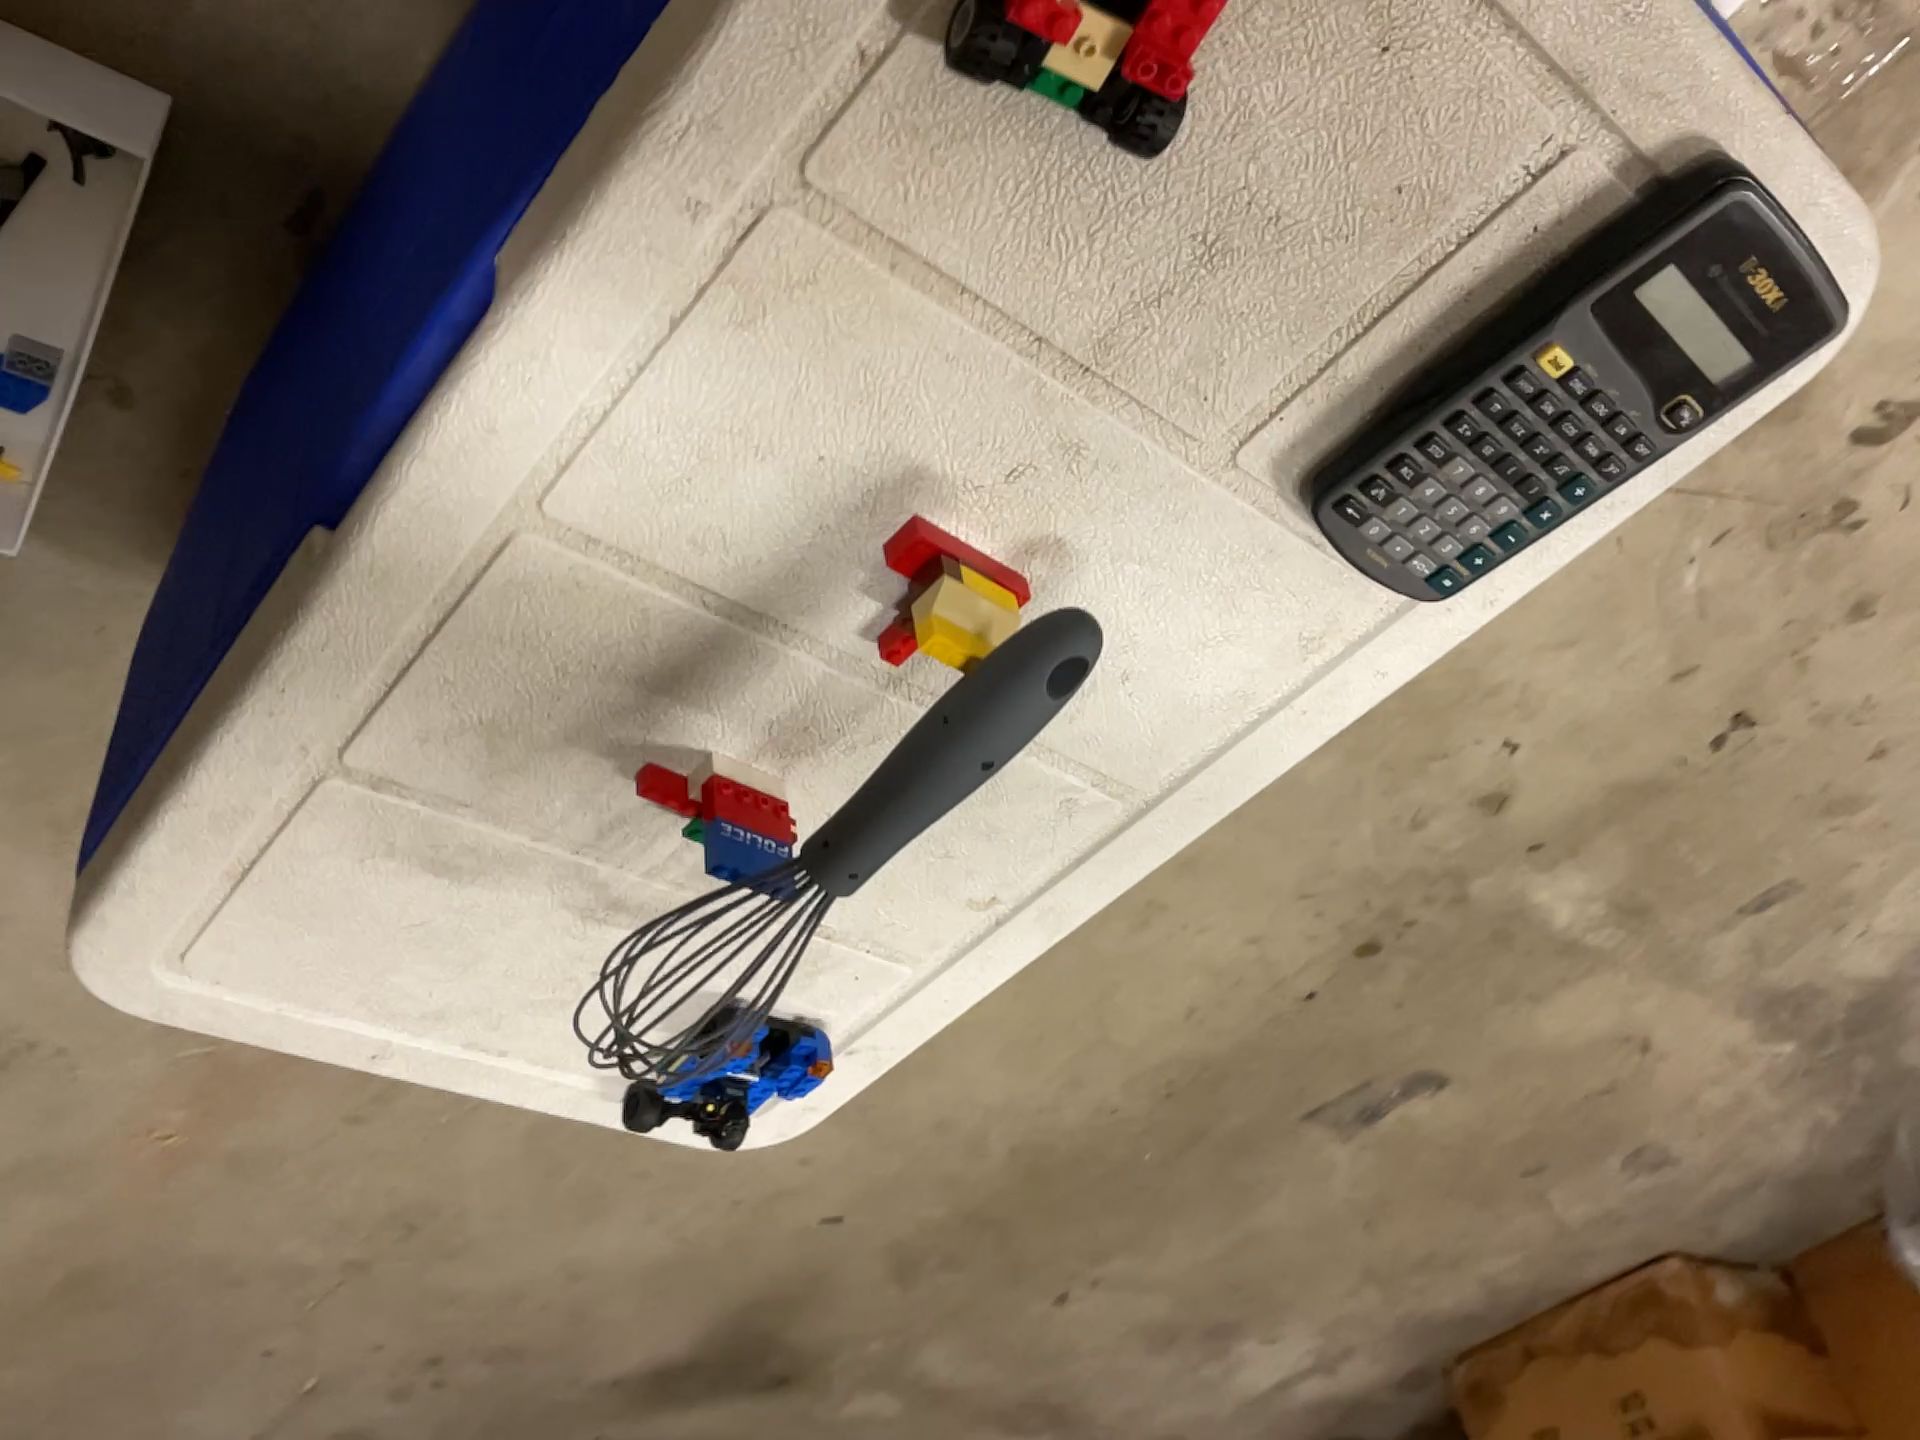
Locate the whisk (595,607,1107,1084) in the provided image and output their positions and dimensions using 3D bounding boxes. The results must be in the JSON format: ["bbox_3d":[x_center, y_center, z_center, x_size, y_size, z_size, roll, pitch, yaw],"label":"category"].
[{"bbox_3d":[-0.040,0.045,0.507,0.055,0.055,0.239,27,122,-38],"label":"whisk"}]
